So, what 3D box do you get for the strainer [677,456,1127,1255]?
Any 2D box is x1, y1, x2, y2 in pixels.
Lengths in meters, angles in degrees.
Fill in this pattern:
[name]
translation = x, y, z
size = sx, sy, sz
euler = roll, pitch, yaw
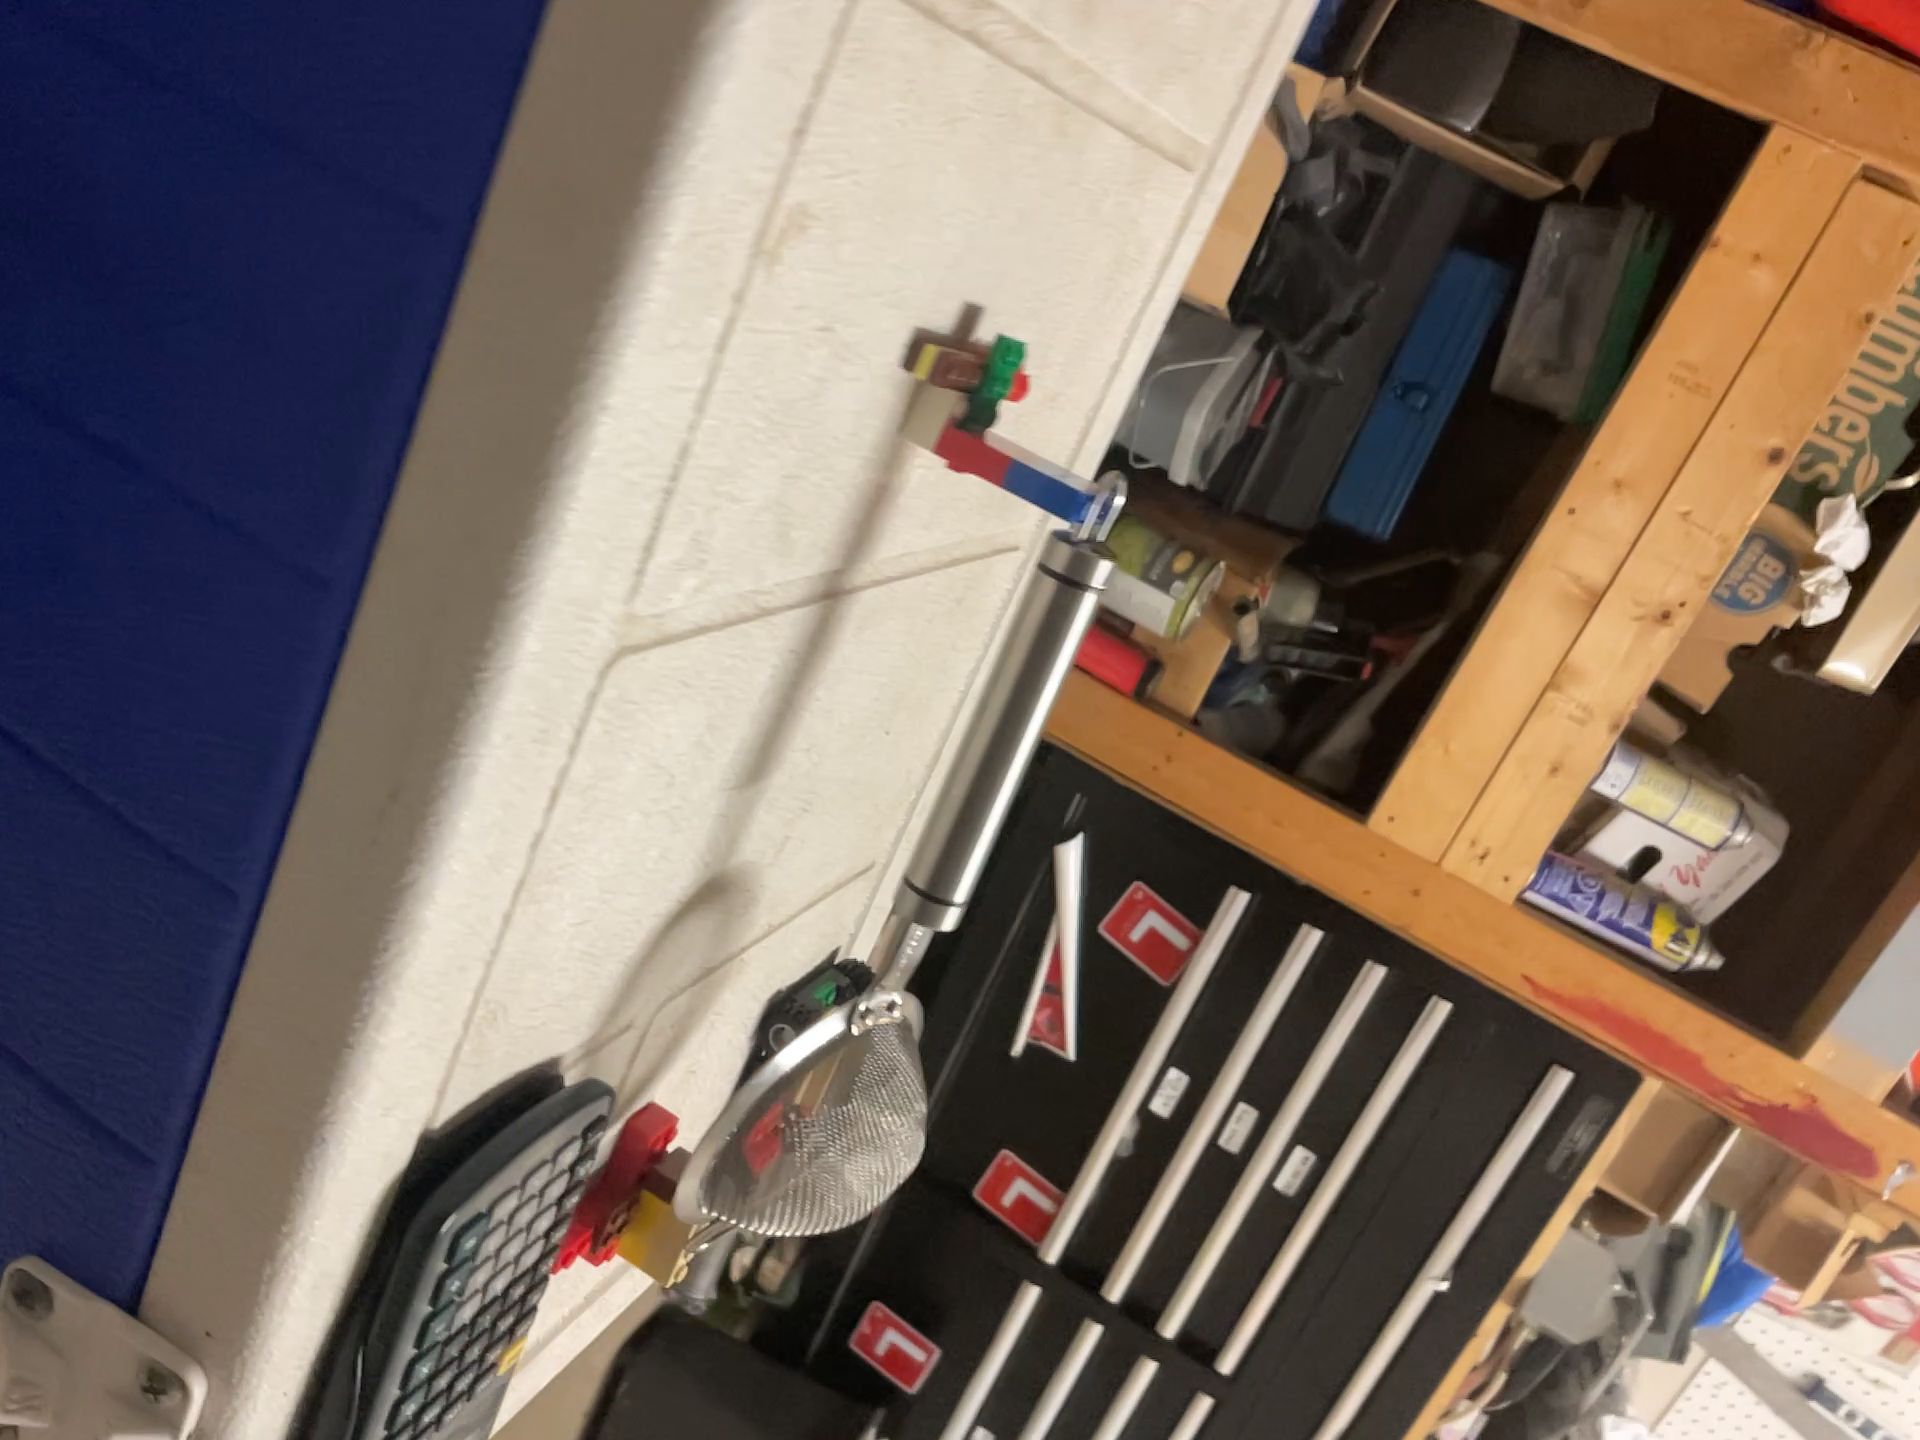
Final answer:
[strainer]
translation = -0.010, 0.052, 0.415
size = 0.087, 0.050, 0.258
euler = -3, 121, -55
